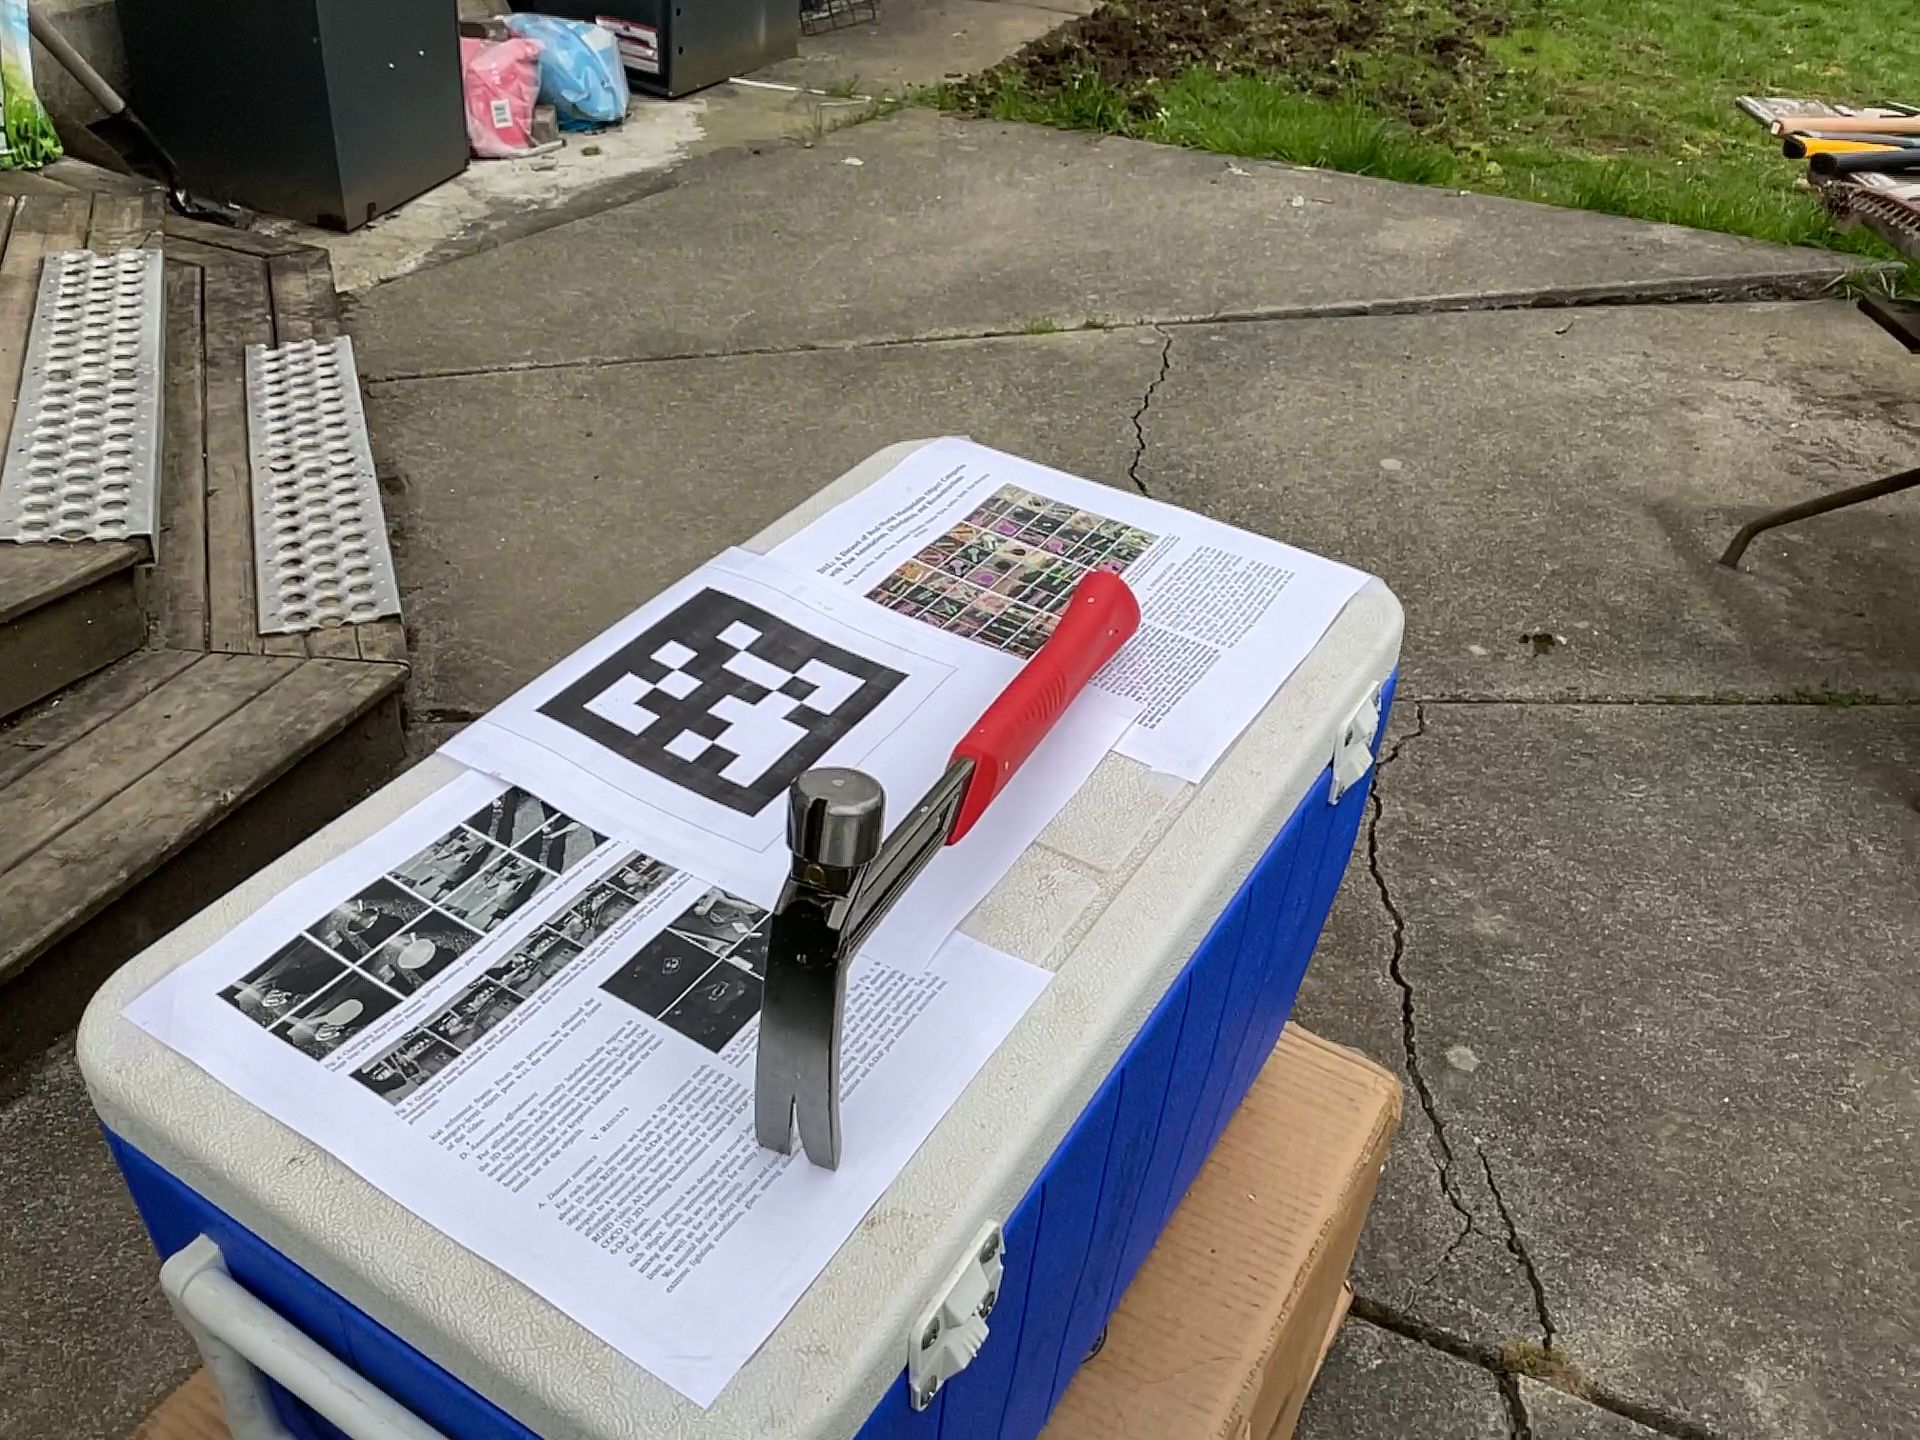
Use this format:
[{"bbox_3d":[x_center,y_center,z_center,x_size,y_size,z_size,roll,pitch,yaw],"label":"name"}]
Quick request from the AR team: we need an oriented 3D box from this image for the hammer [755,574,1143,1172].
[{"bbox_3d":[0.011,0.025,0.673,0.037,0.149,0.359,15,28,16],"label":"hammer"}]
